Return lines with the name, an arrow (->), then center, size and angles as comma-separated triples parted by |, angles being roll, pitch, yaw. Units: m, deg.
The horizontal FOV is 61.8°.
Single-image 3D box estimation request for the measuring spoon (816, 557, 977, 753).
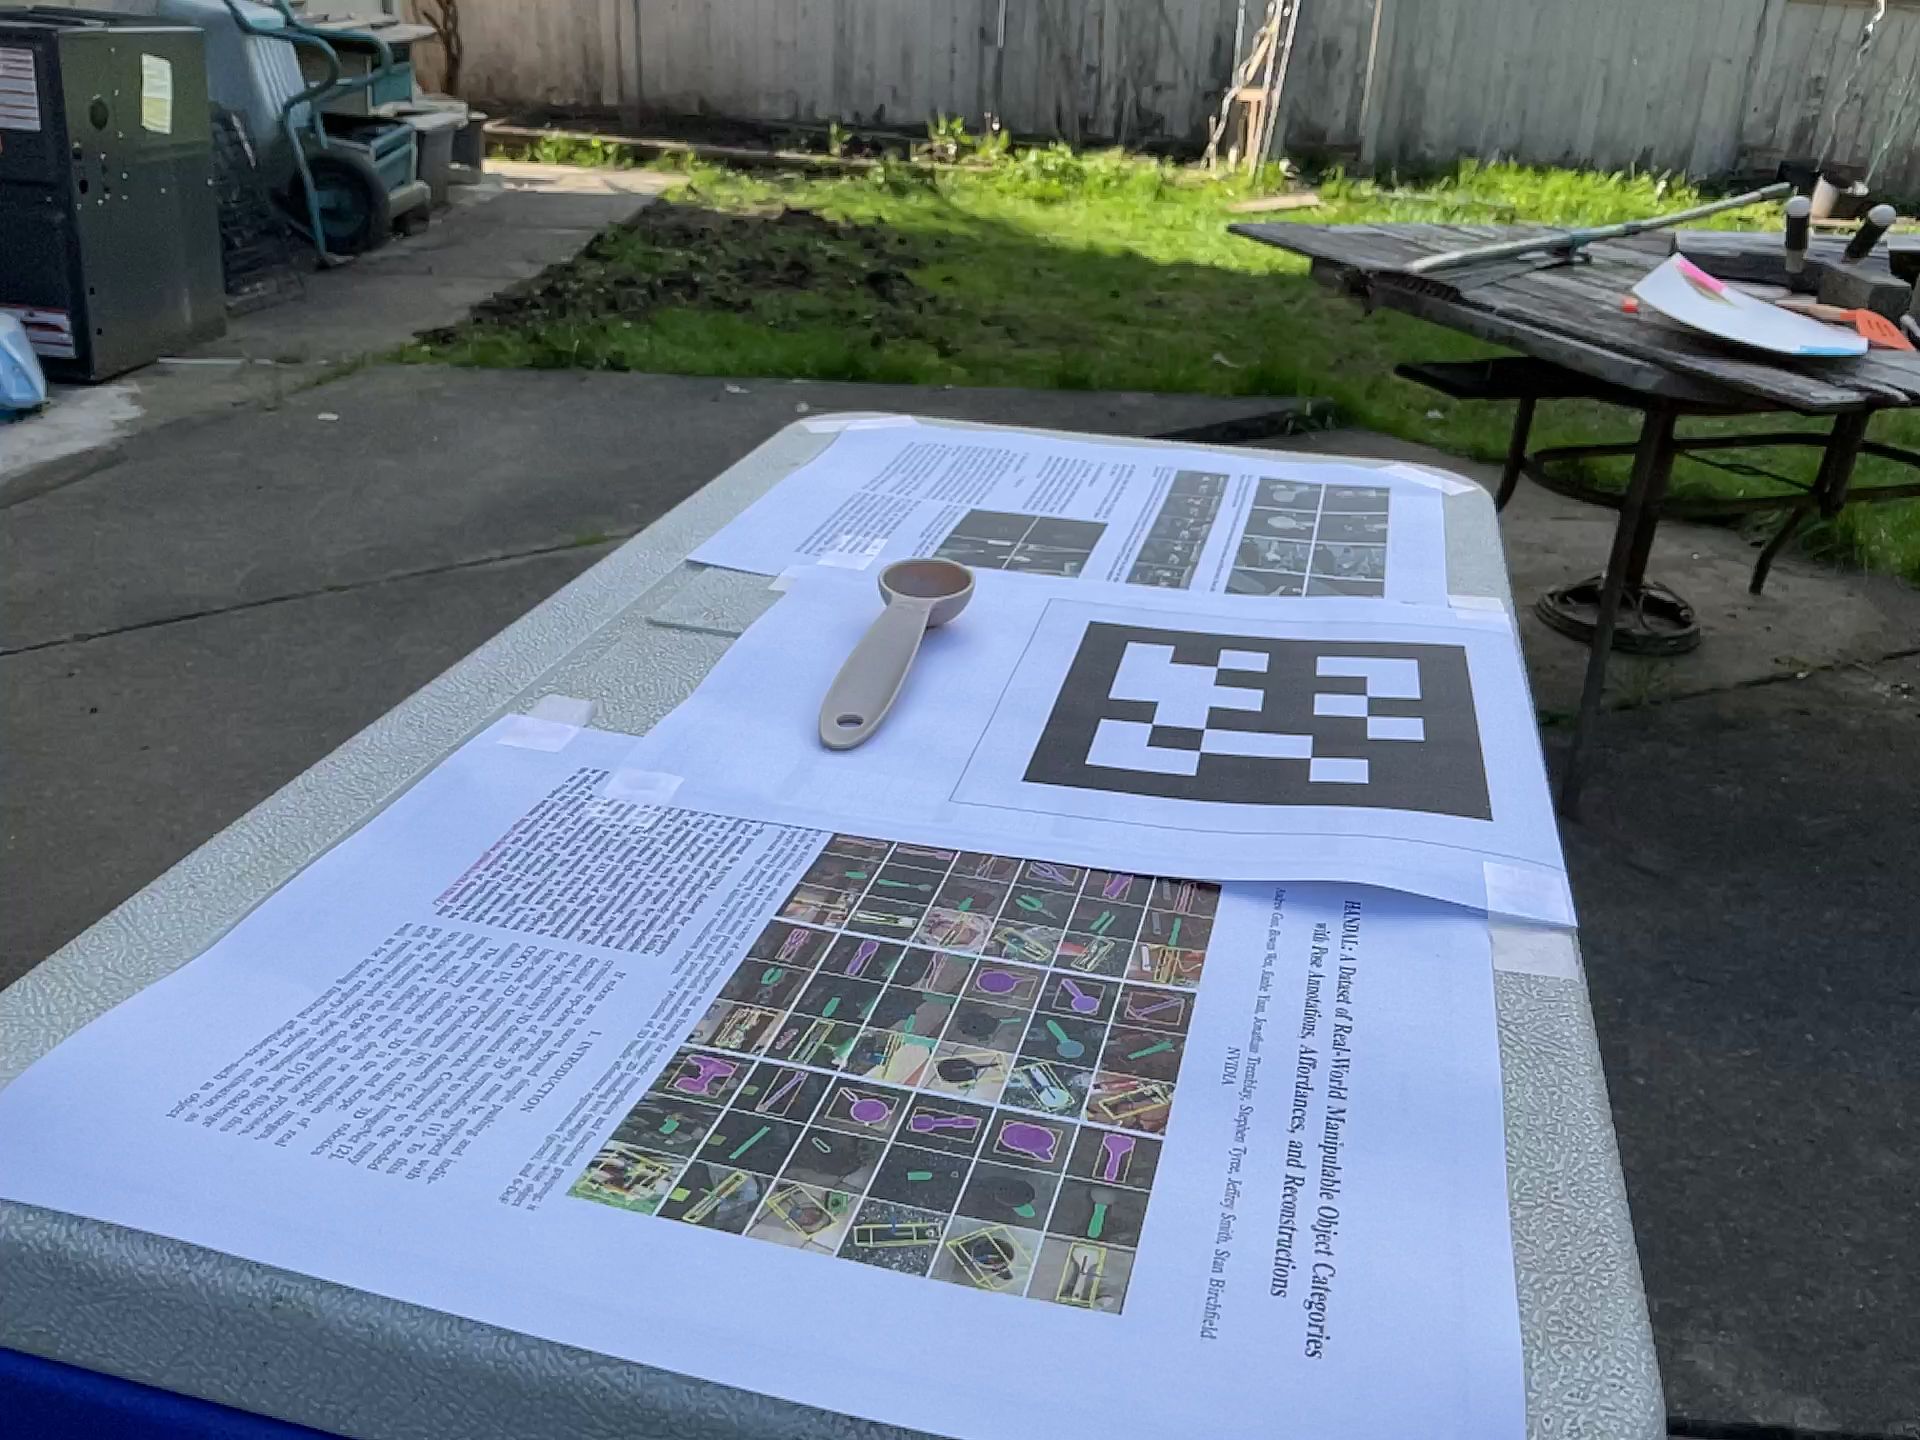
measuring spoon -> -0.023, -0.019, 0.514 | 0.034, 0.018, 0.124 | 9, 33, 11
